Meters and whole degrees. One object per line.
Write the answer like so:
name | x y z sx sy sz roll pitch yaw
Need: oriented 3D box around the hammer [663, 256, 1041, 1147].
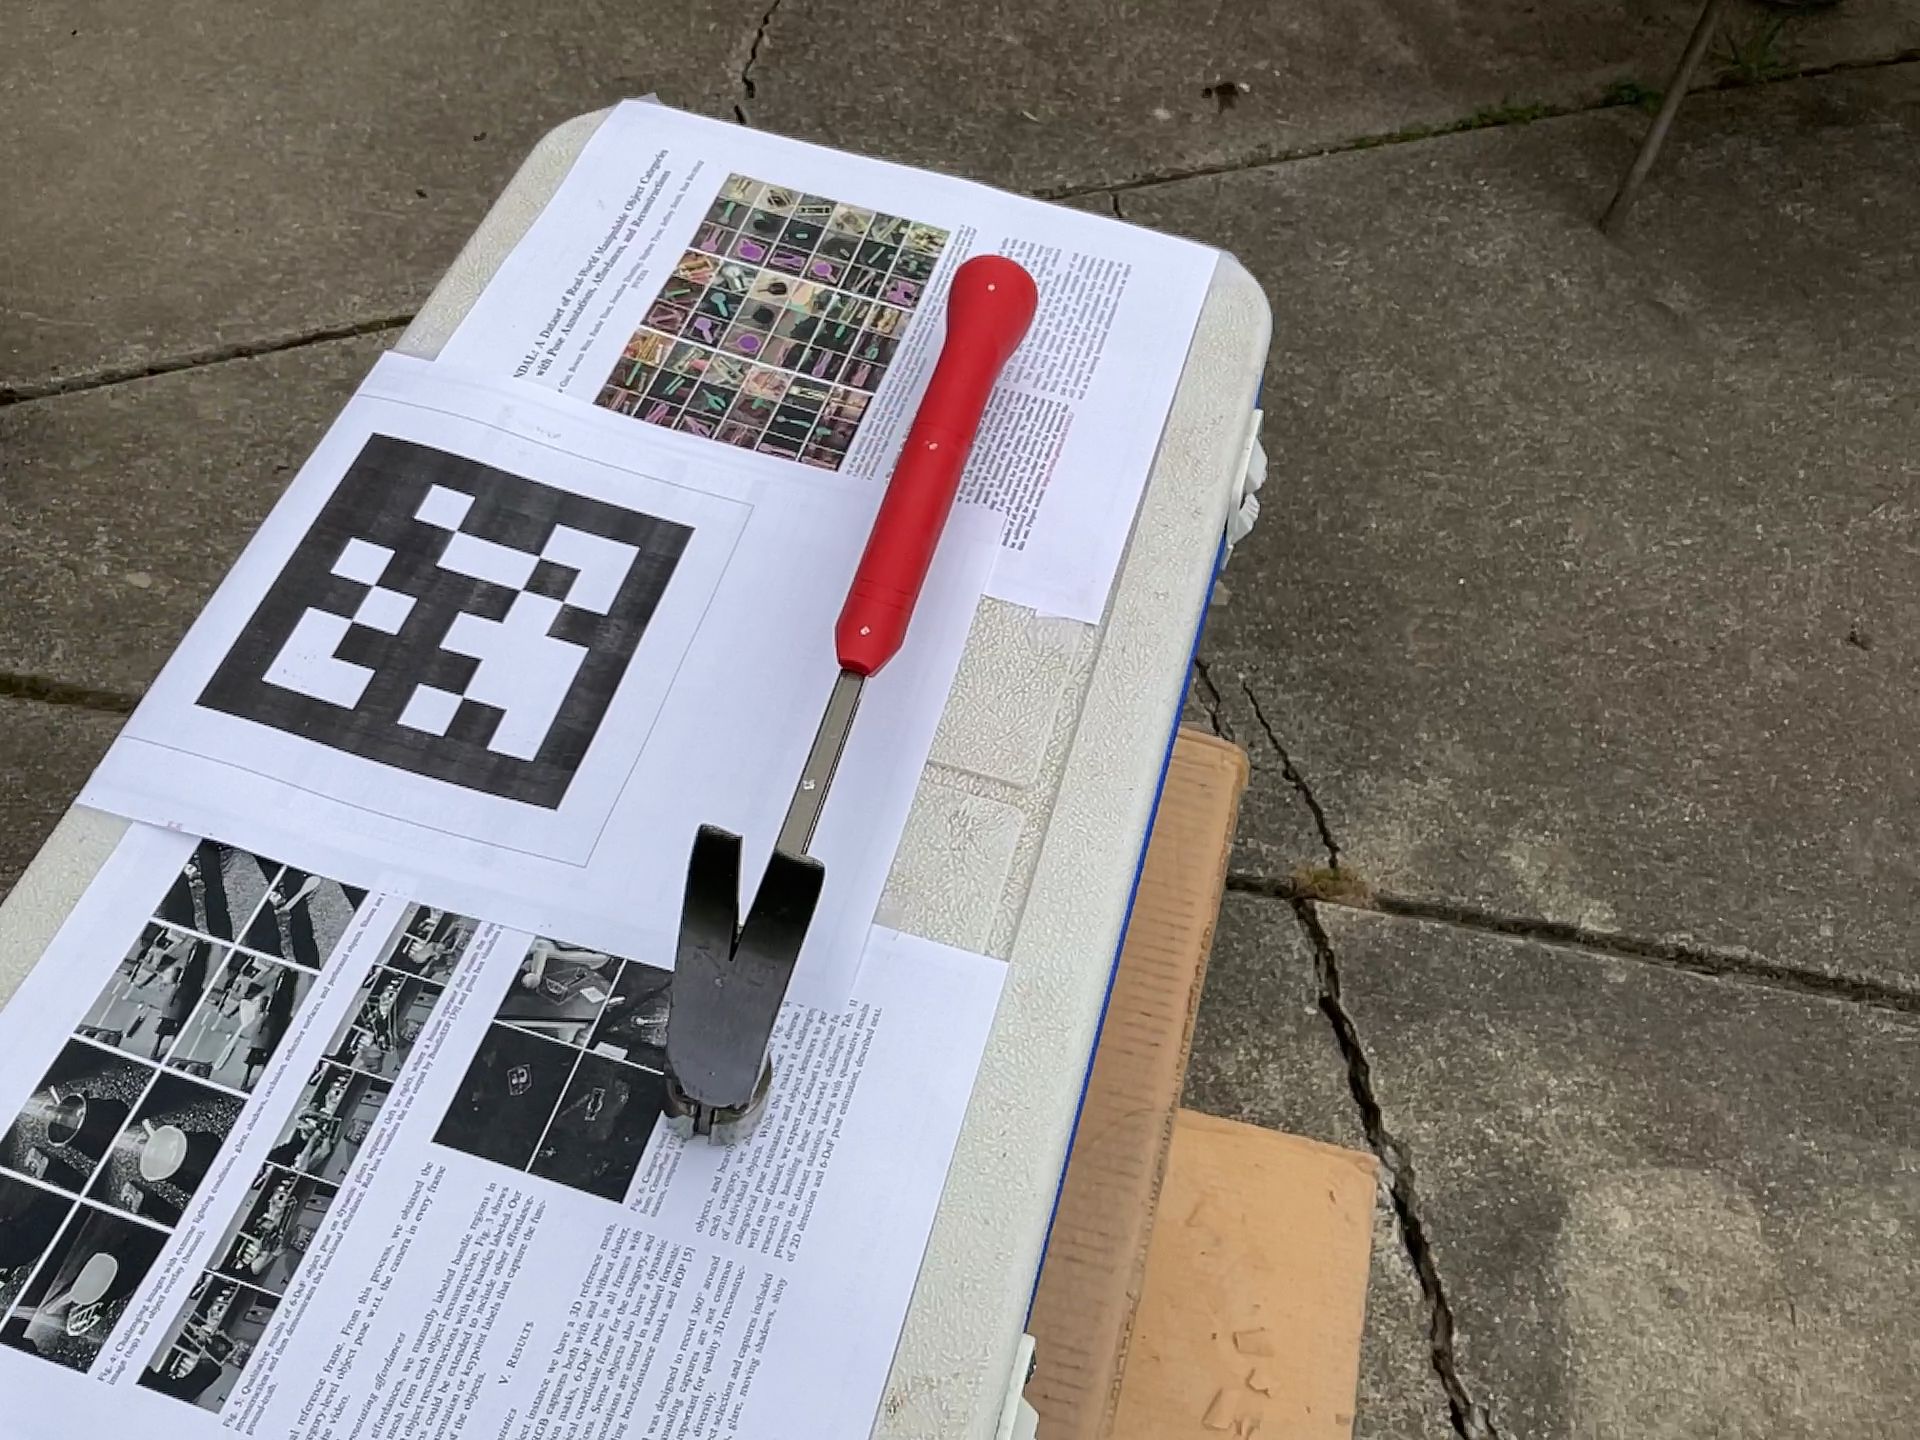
hammer | -0.023 -0.049 0.524 0.036 0.149 0.359 17 50 -1
